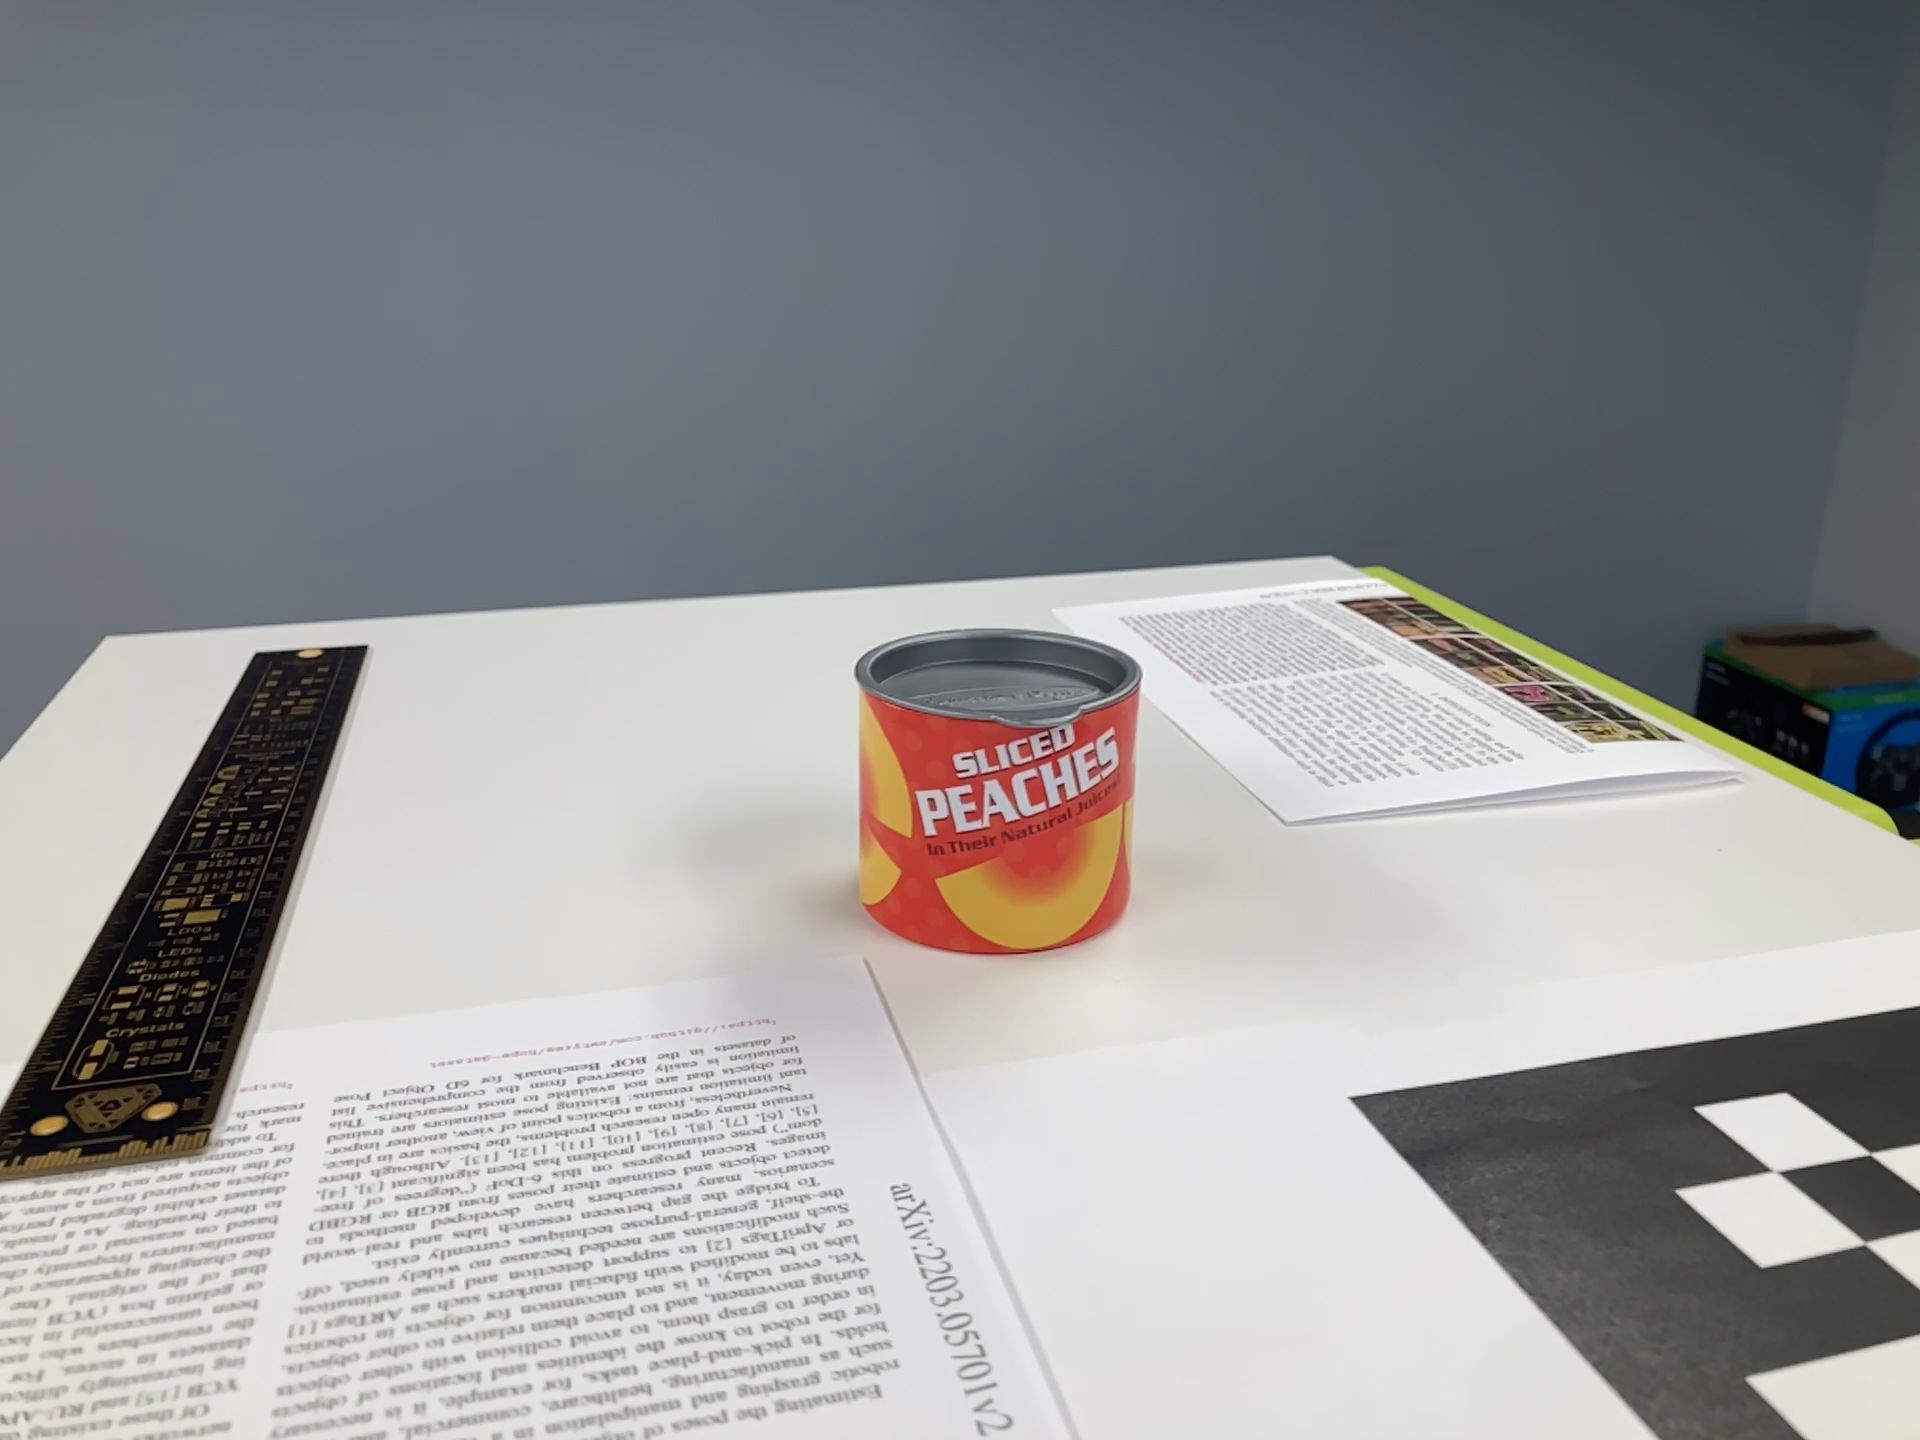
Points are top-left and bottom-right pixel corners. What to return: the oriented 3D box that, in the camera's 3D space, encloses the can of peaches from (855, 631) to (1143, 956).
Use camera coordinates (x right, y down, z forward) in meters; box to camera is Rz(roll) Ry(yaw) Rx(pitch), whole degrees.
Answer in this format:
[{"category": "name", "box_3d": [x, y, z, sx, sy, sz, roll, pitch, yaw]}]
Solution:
[{"category": "can of peaches", "box_3d": [0.009, 0.016, 0.371, 0.071, 0.058, 0.071, 1, 20, 0]}]
